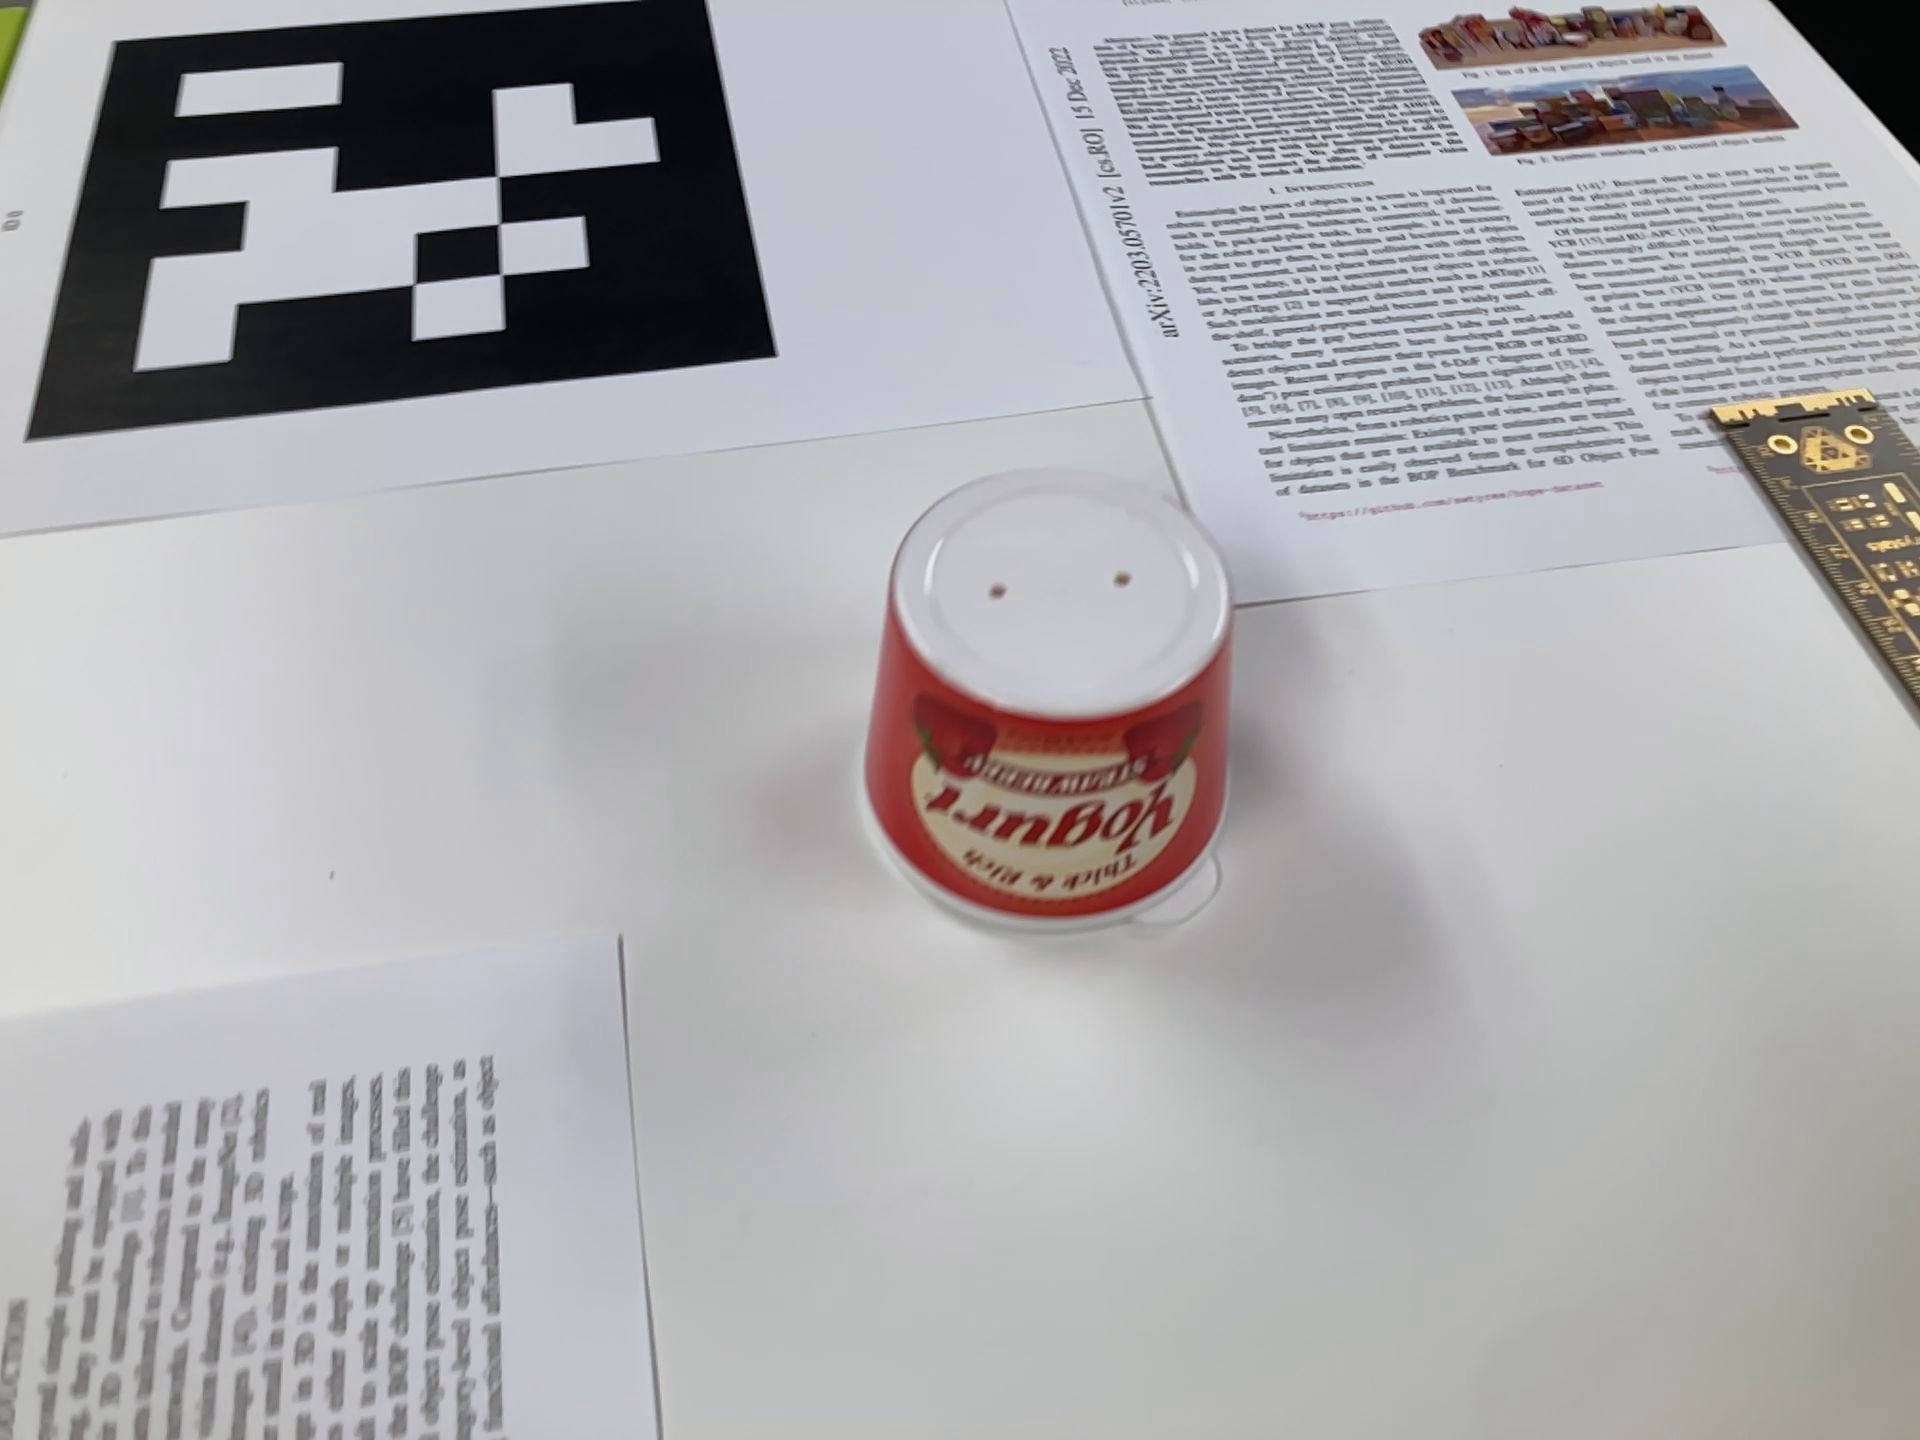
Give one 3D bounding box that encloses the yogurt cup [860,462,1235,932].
[{"bbox_3d":[0.016,-0.006,0.269,0.072,0.054,0.072,0,52,0],"label":"yogurt cup"}]
